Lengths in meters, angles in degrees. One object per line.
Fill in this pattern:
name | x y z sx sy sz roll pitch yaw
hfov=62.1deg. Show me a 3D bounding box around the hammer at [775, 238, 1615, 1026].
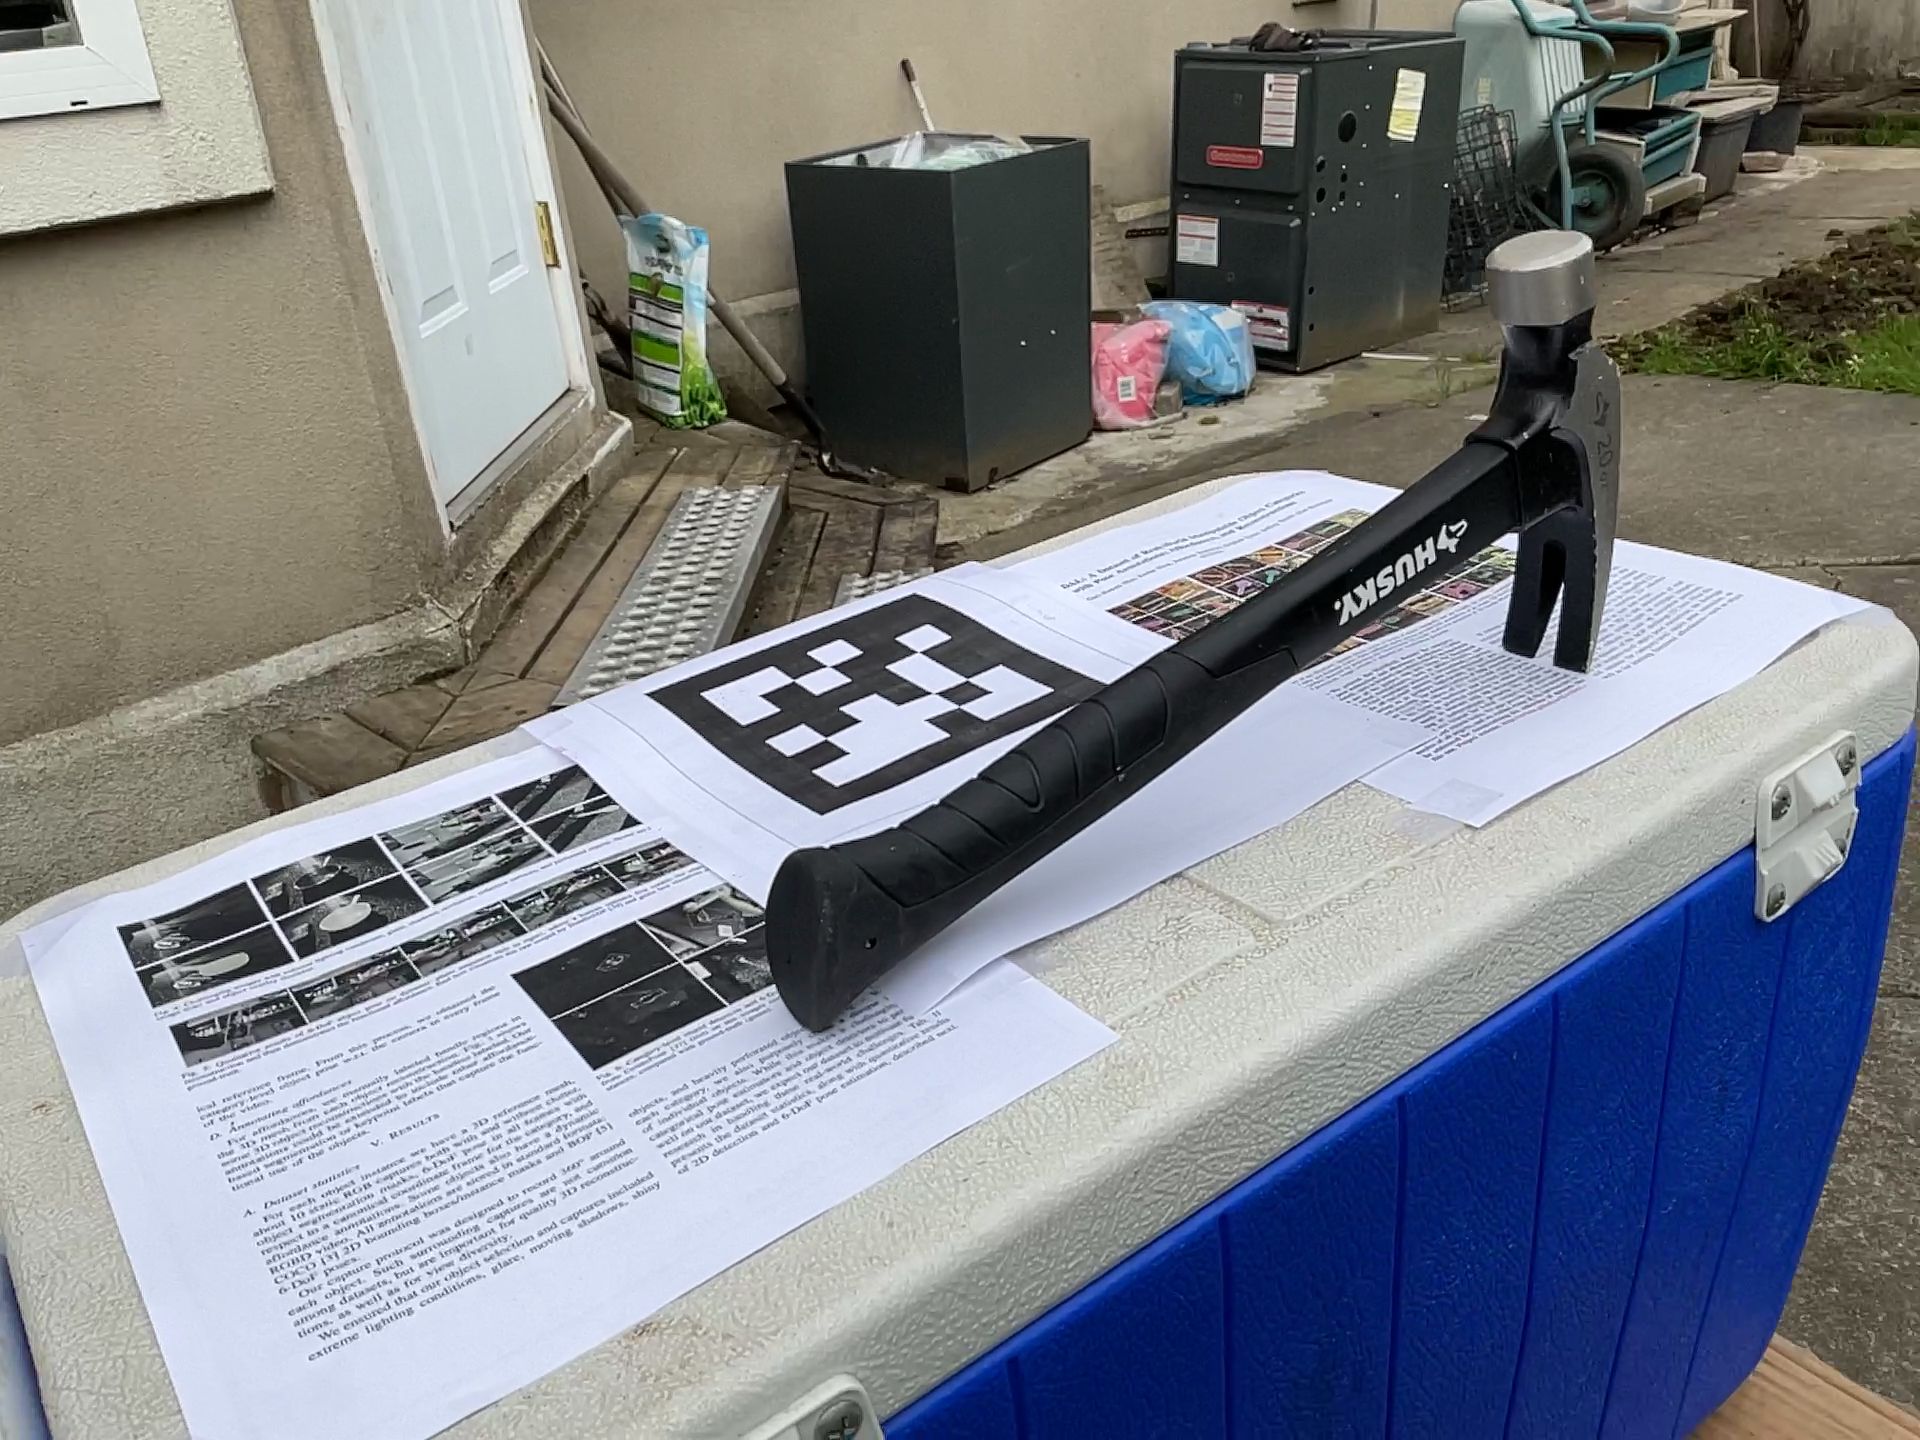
hammer | 0.086 -0.013 0.485 0.334 0.146 0.035 -33 33 -23
